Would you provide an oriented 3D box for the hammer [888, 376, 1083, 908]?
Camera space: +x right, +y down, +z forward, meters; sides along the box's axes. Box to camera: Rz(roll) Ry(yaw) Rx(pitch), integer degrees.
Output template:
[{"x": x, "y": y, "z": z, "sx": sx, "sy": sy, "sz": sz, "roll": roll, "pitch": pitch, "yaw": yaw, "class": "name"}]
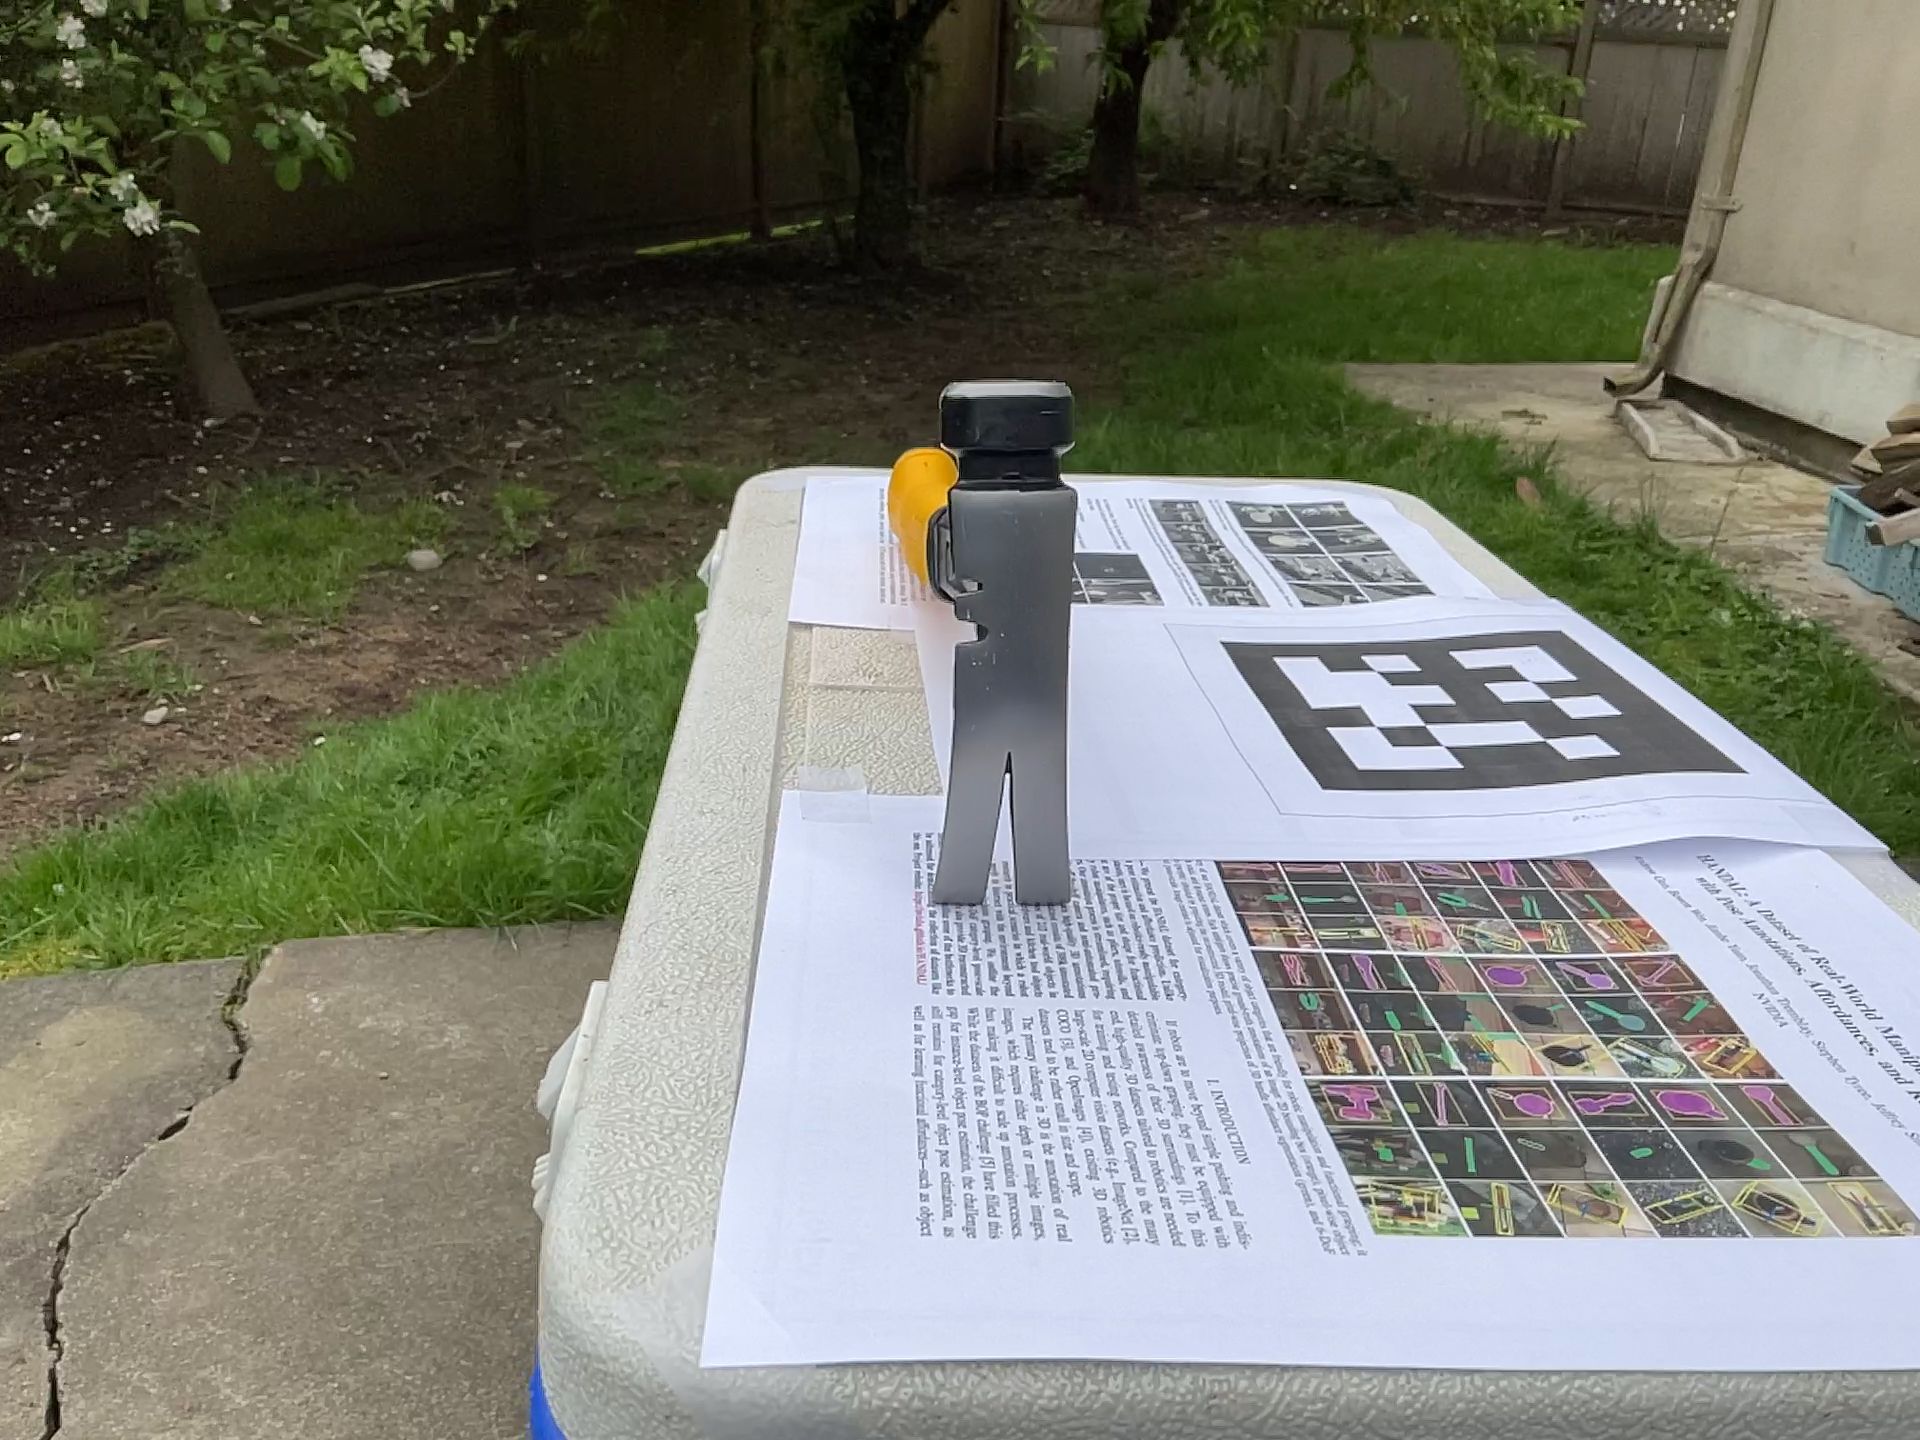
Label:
[{"x": -0.002, "y": -0.049, "z": 0.527, "sx": 0.034, "sy": 0.127, "sz": 0.337, "roll": 0, "pitch": 12, "yaw": -5, "class": "hammer"}]
